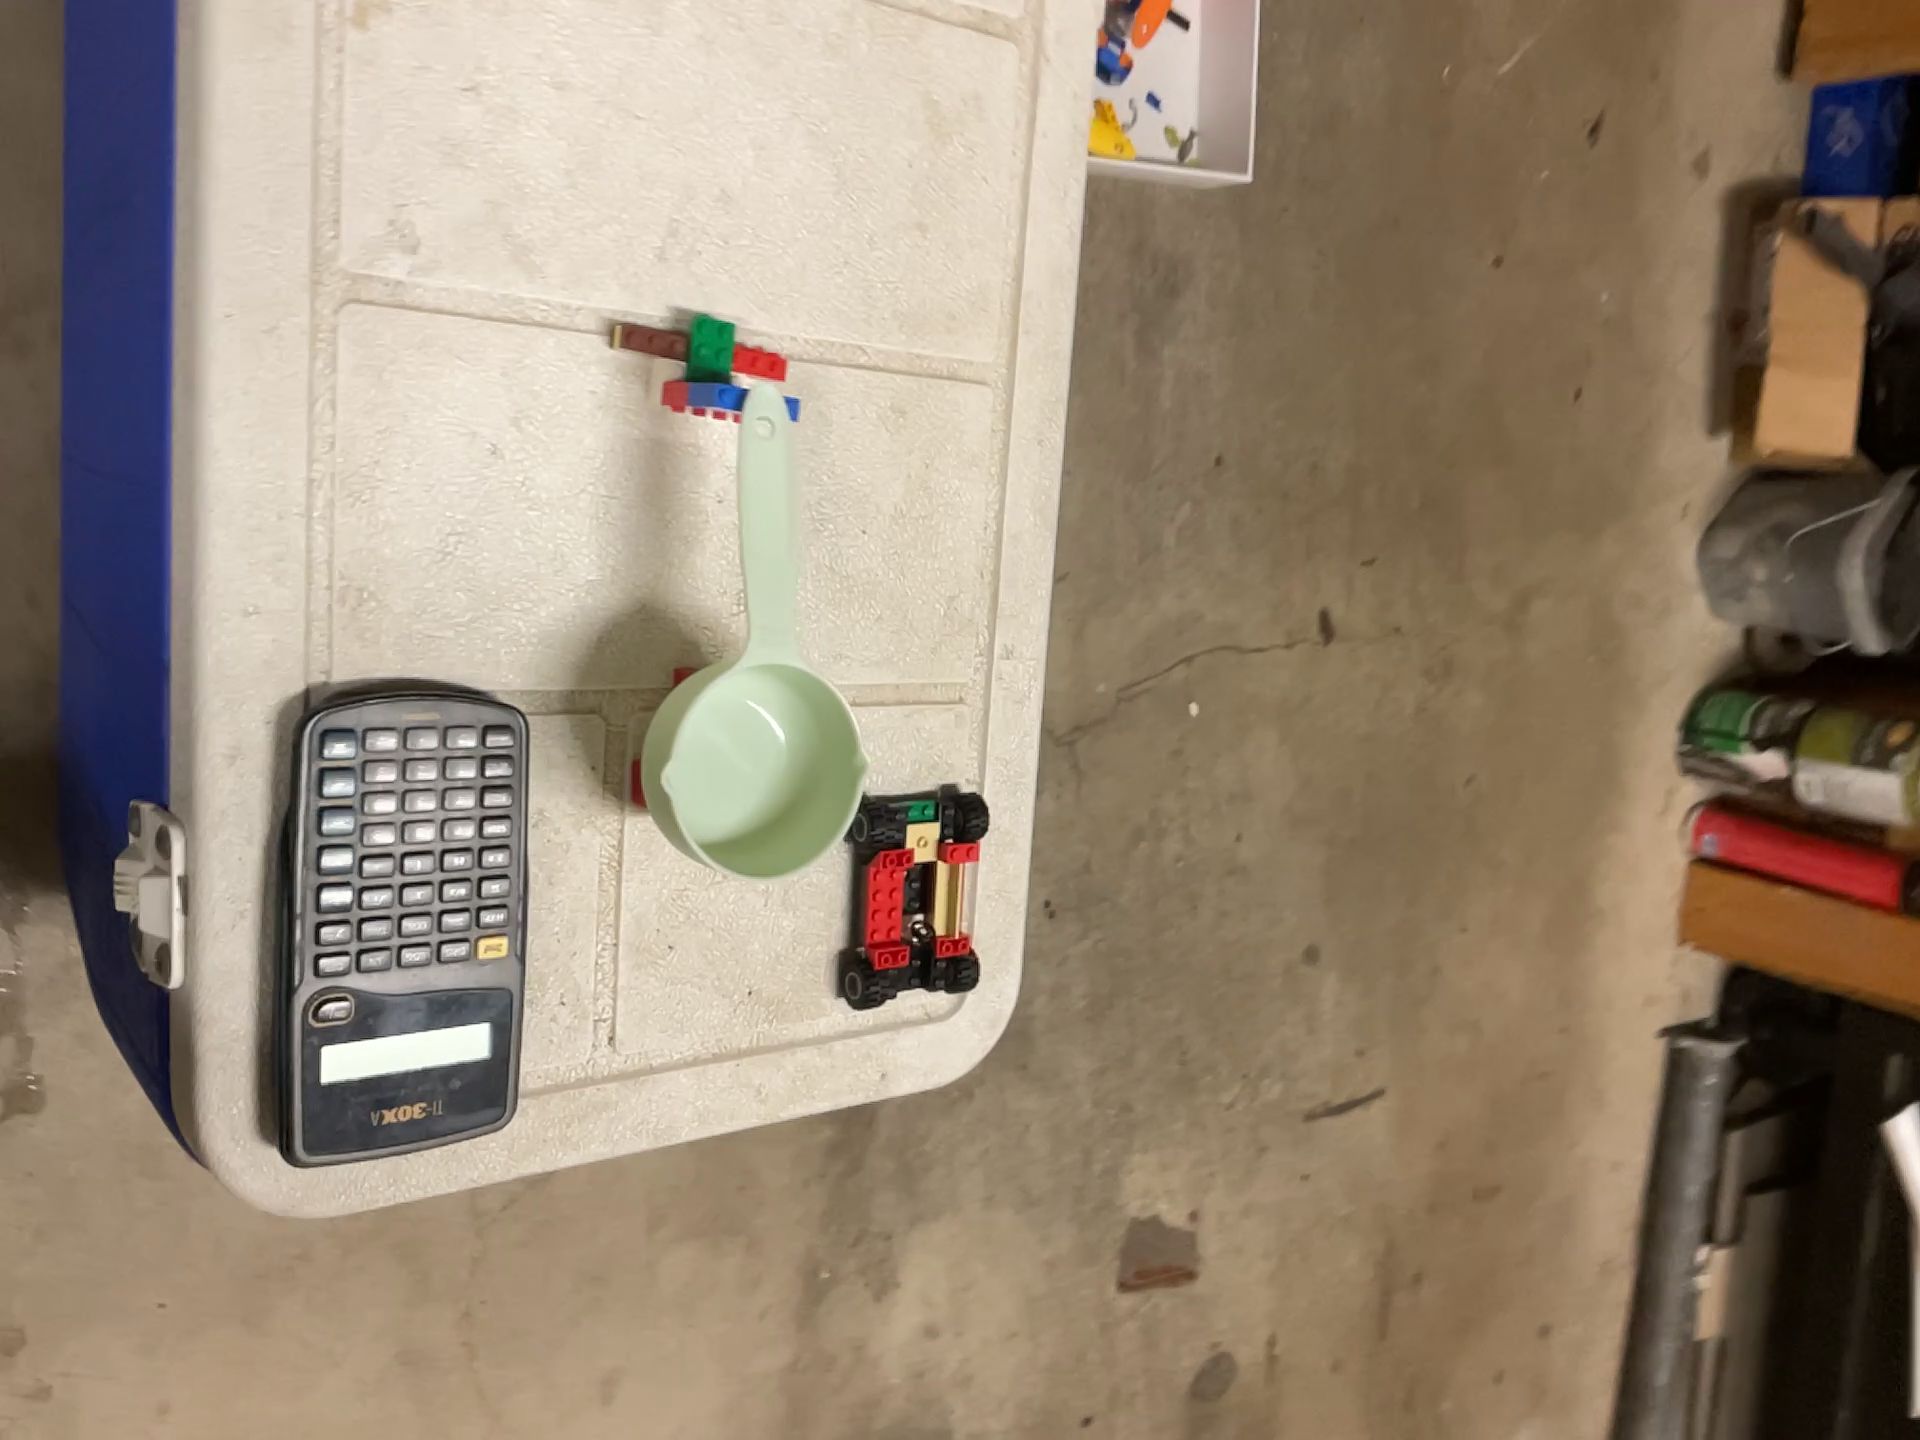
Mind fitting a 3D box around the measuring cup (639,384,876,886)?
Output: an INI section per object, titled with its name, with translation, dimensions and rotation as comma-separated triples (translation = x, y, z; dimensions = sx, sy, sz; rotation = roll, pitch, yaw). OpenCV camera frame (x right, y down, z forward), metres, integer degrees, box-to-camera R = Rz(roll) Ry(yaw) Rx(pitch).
[measuring cup]
translation = -0.074, -0.029, 0.549
dimensions = 0.083, 0.038, 0.167
rotation = -4, 95, -36
